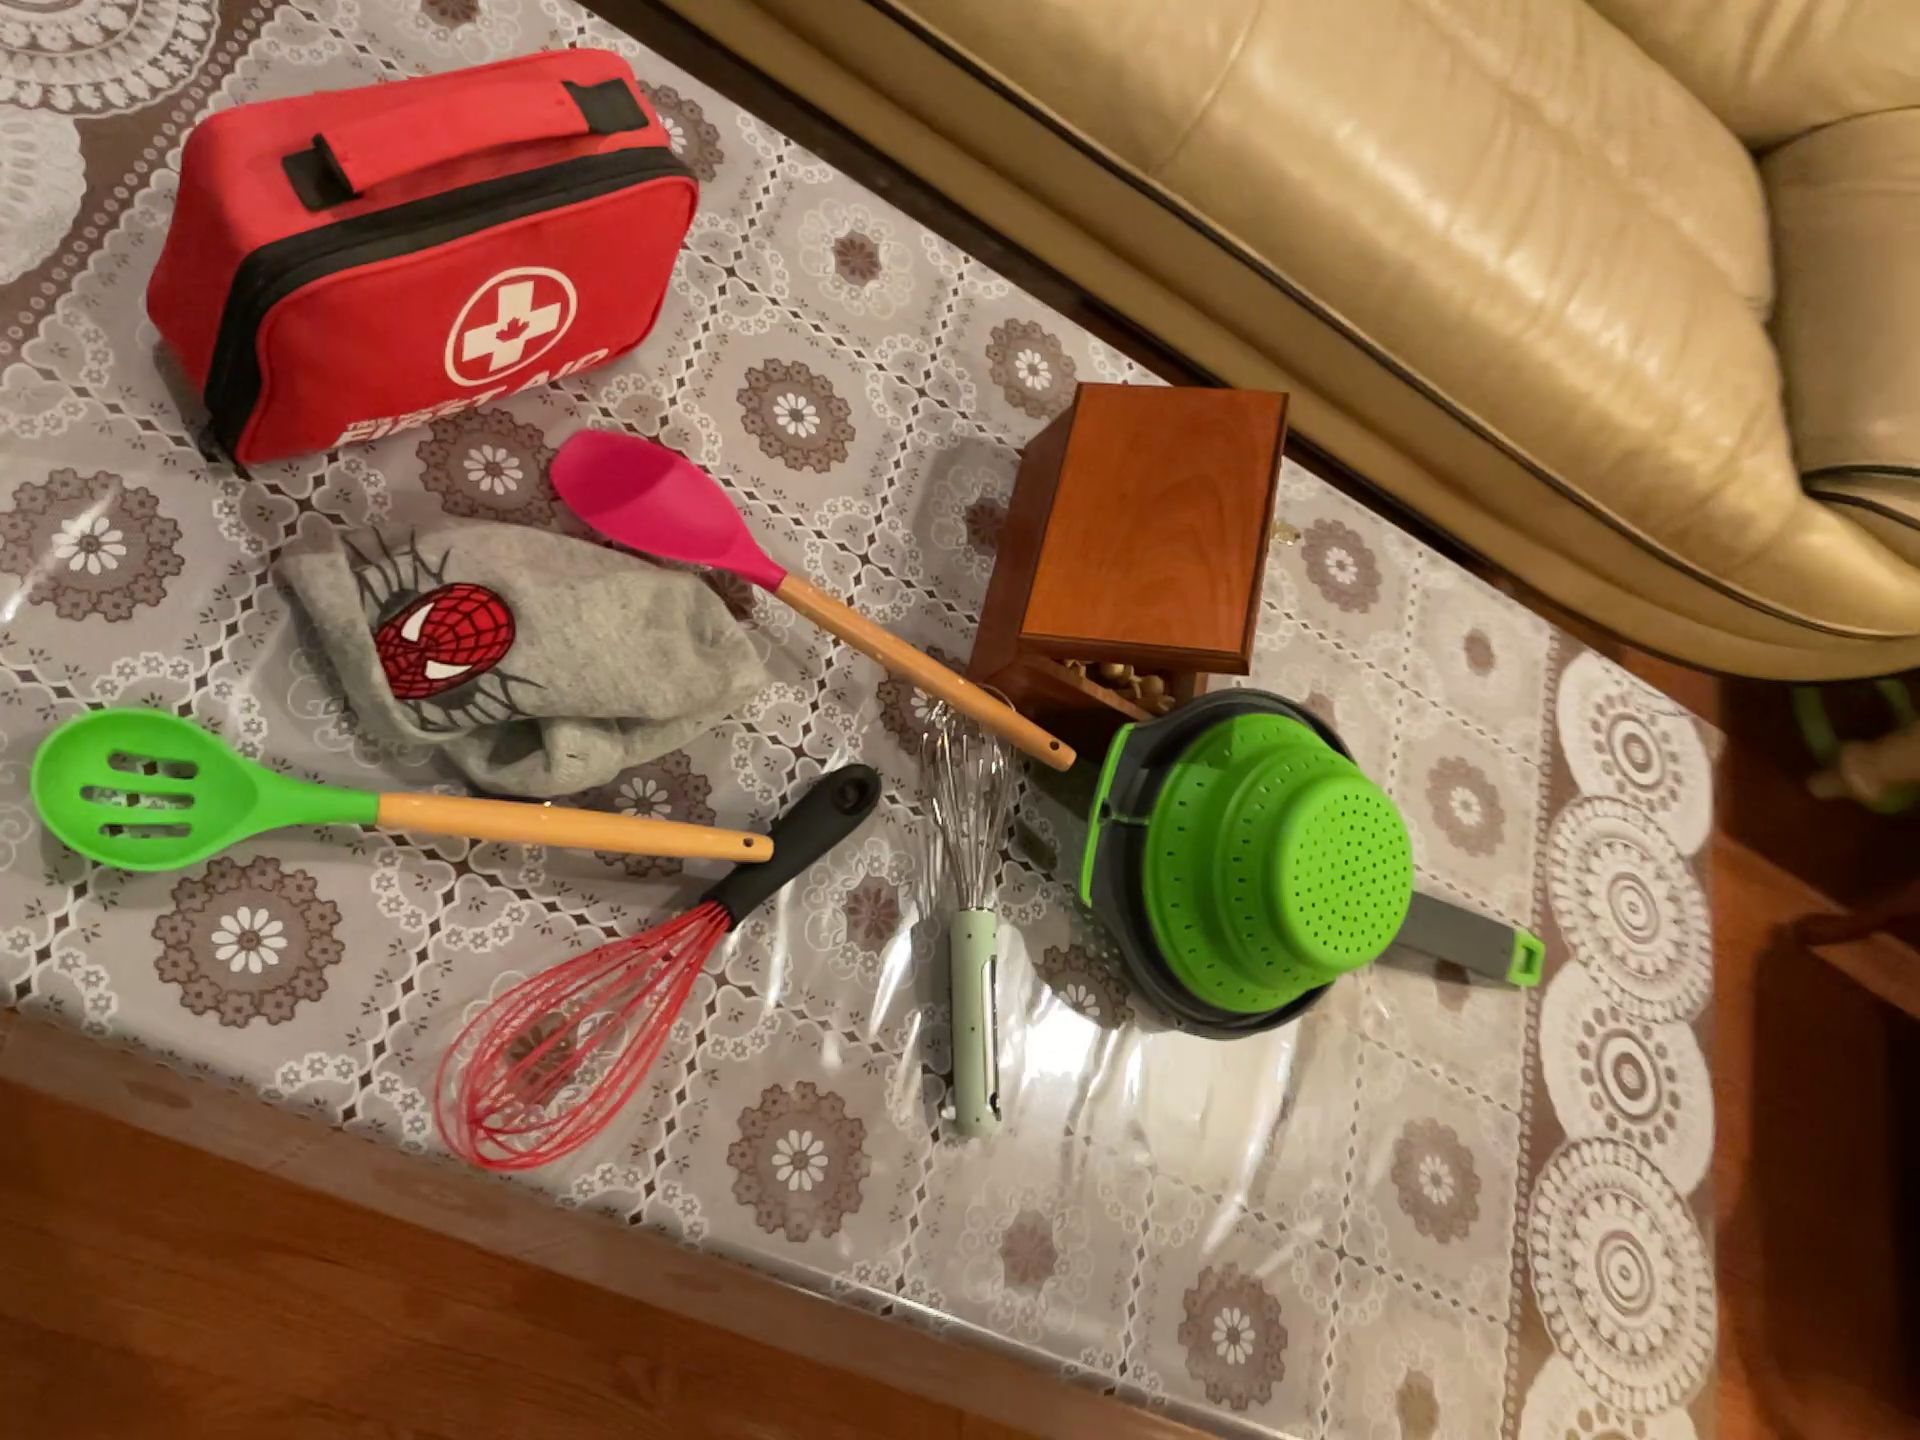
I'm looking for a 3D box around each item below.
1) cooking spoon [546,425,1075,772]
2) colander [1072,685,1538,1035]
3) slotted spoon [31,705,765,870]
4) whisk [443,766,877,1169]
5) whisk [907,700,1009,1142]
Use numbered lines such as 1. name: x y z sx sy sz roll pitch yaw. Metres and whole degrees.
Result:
1. cooking spoon: -0.075 -0.060 0.846 0.319 0.017 0.069 32 57 -5
2. colander: 0.250 0.107 0.945 0.396 0.094 0.204 21 79 -32
3. slotted spoon: -0.235 0.044 0.711 0.313 0.031 0.070 9 65 -27
4. whisk: -0.127 0.102 0.755 0.073 0.073 0.296 47 46 1
5. whisk: 0.003 0.099 0.853 0.058 0.059 0.246 -6 70 9
